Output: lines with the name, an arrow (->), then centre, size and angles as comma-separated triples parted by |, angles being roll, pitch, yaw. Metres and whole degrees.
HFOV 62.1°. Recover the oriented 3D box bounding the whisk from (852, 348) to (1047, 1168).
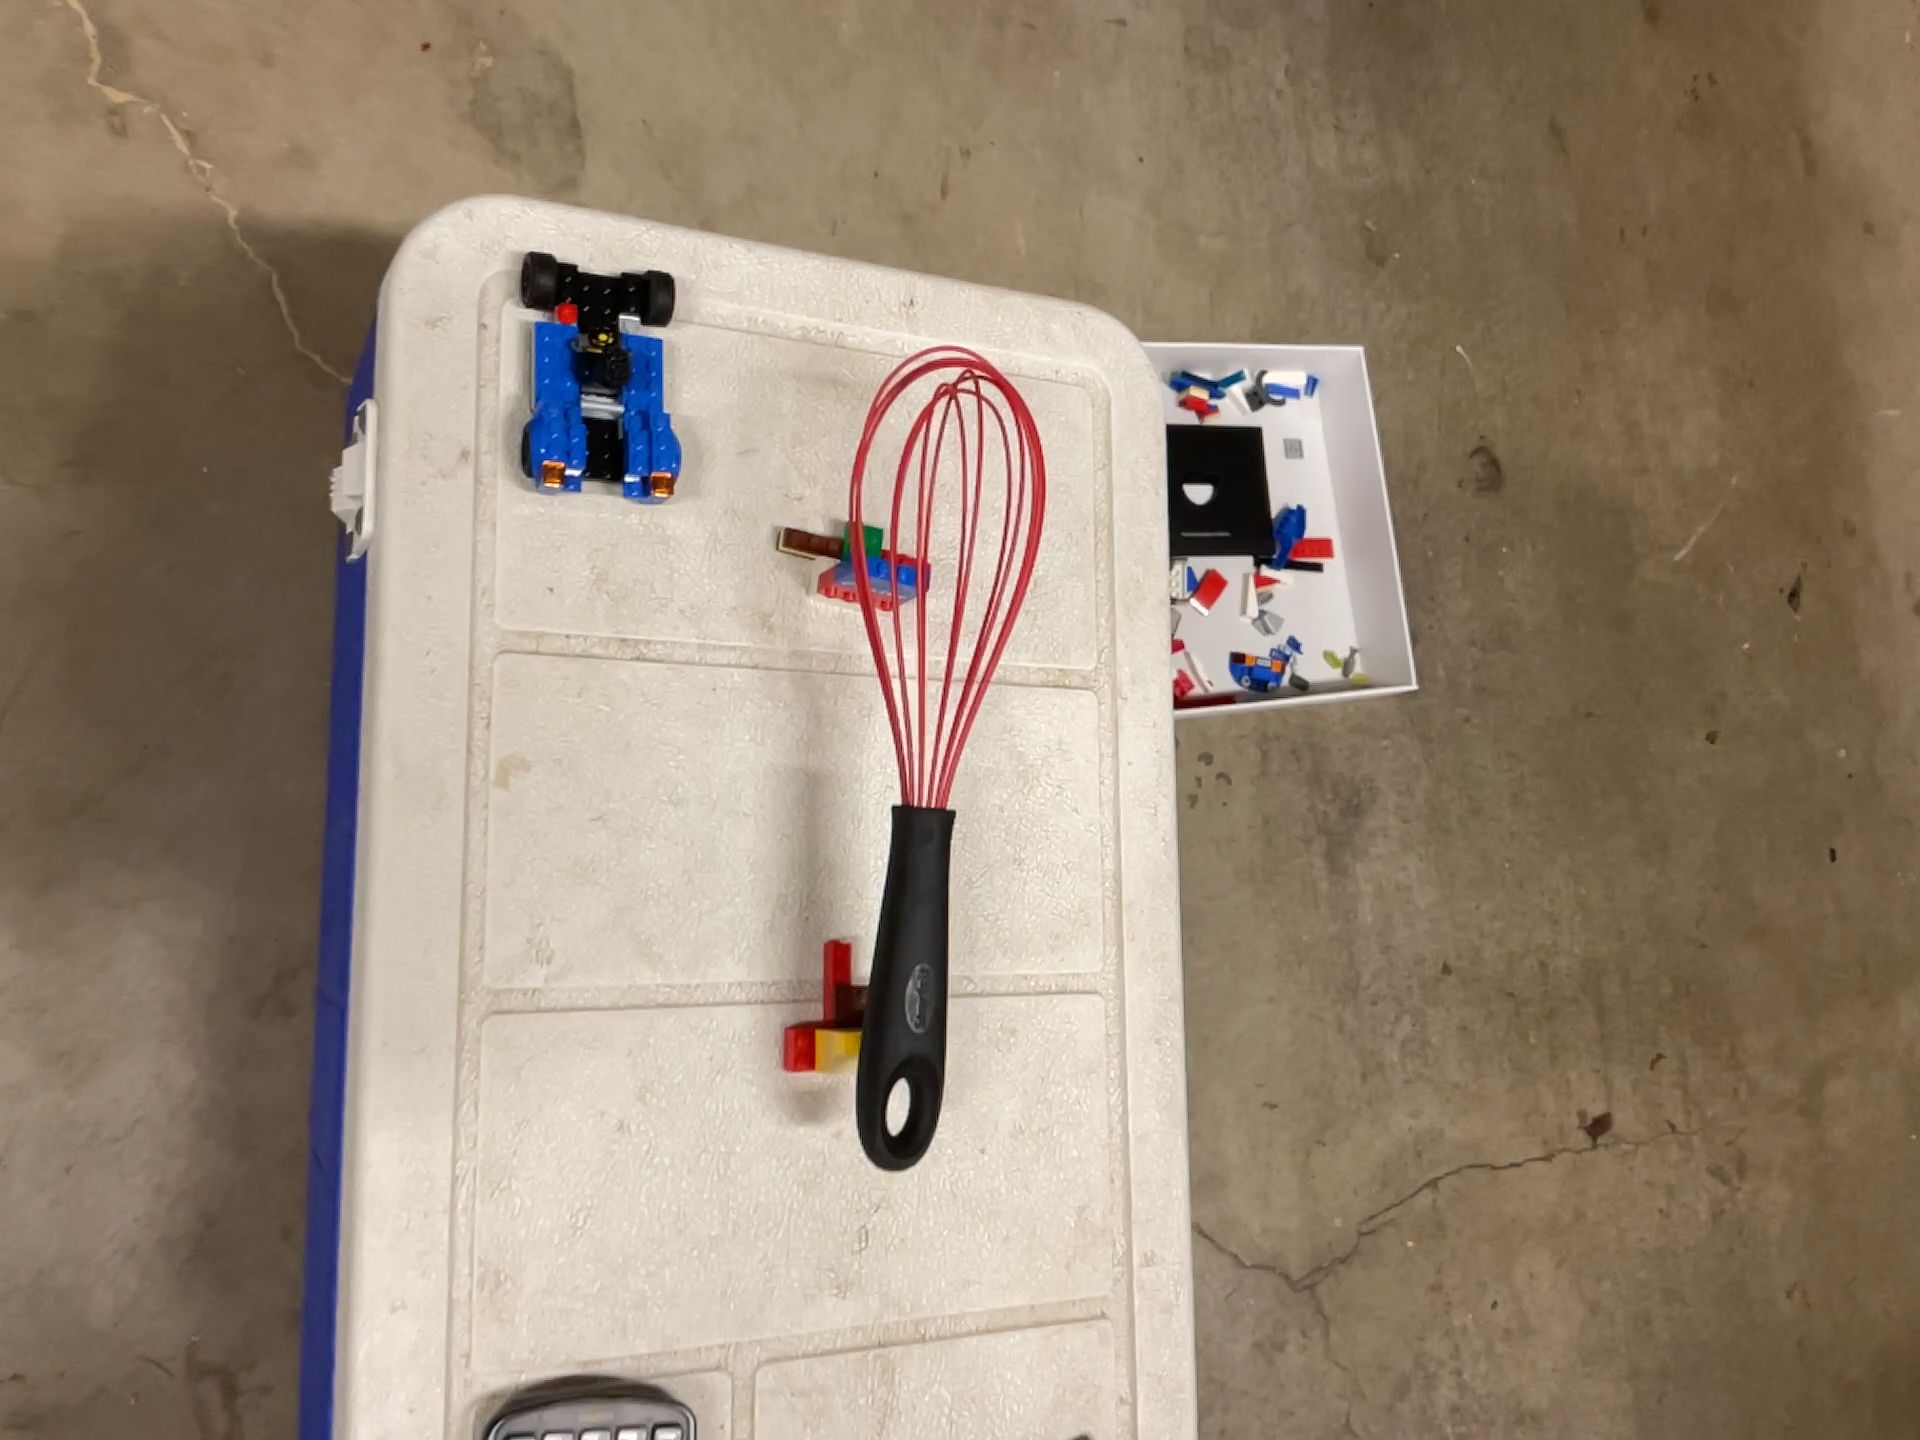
whisk -> -0.011, 0.013, 0.574 | 0.073, 0.073, 0.296 | 6, 89, -29
